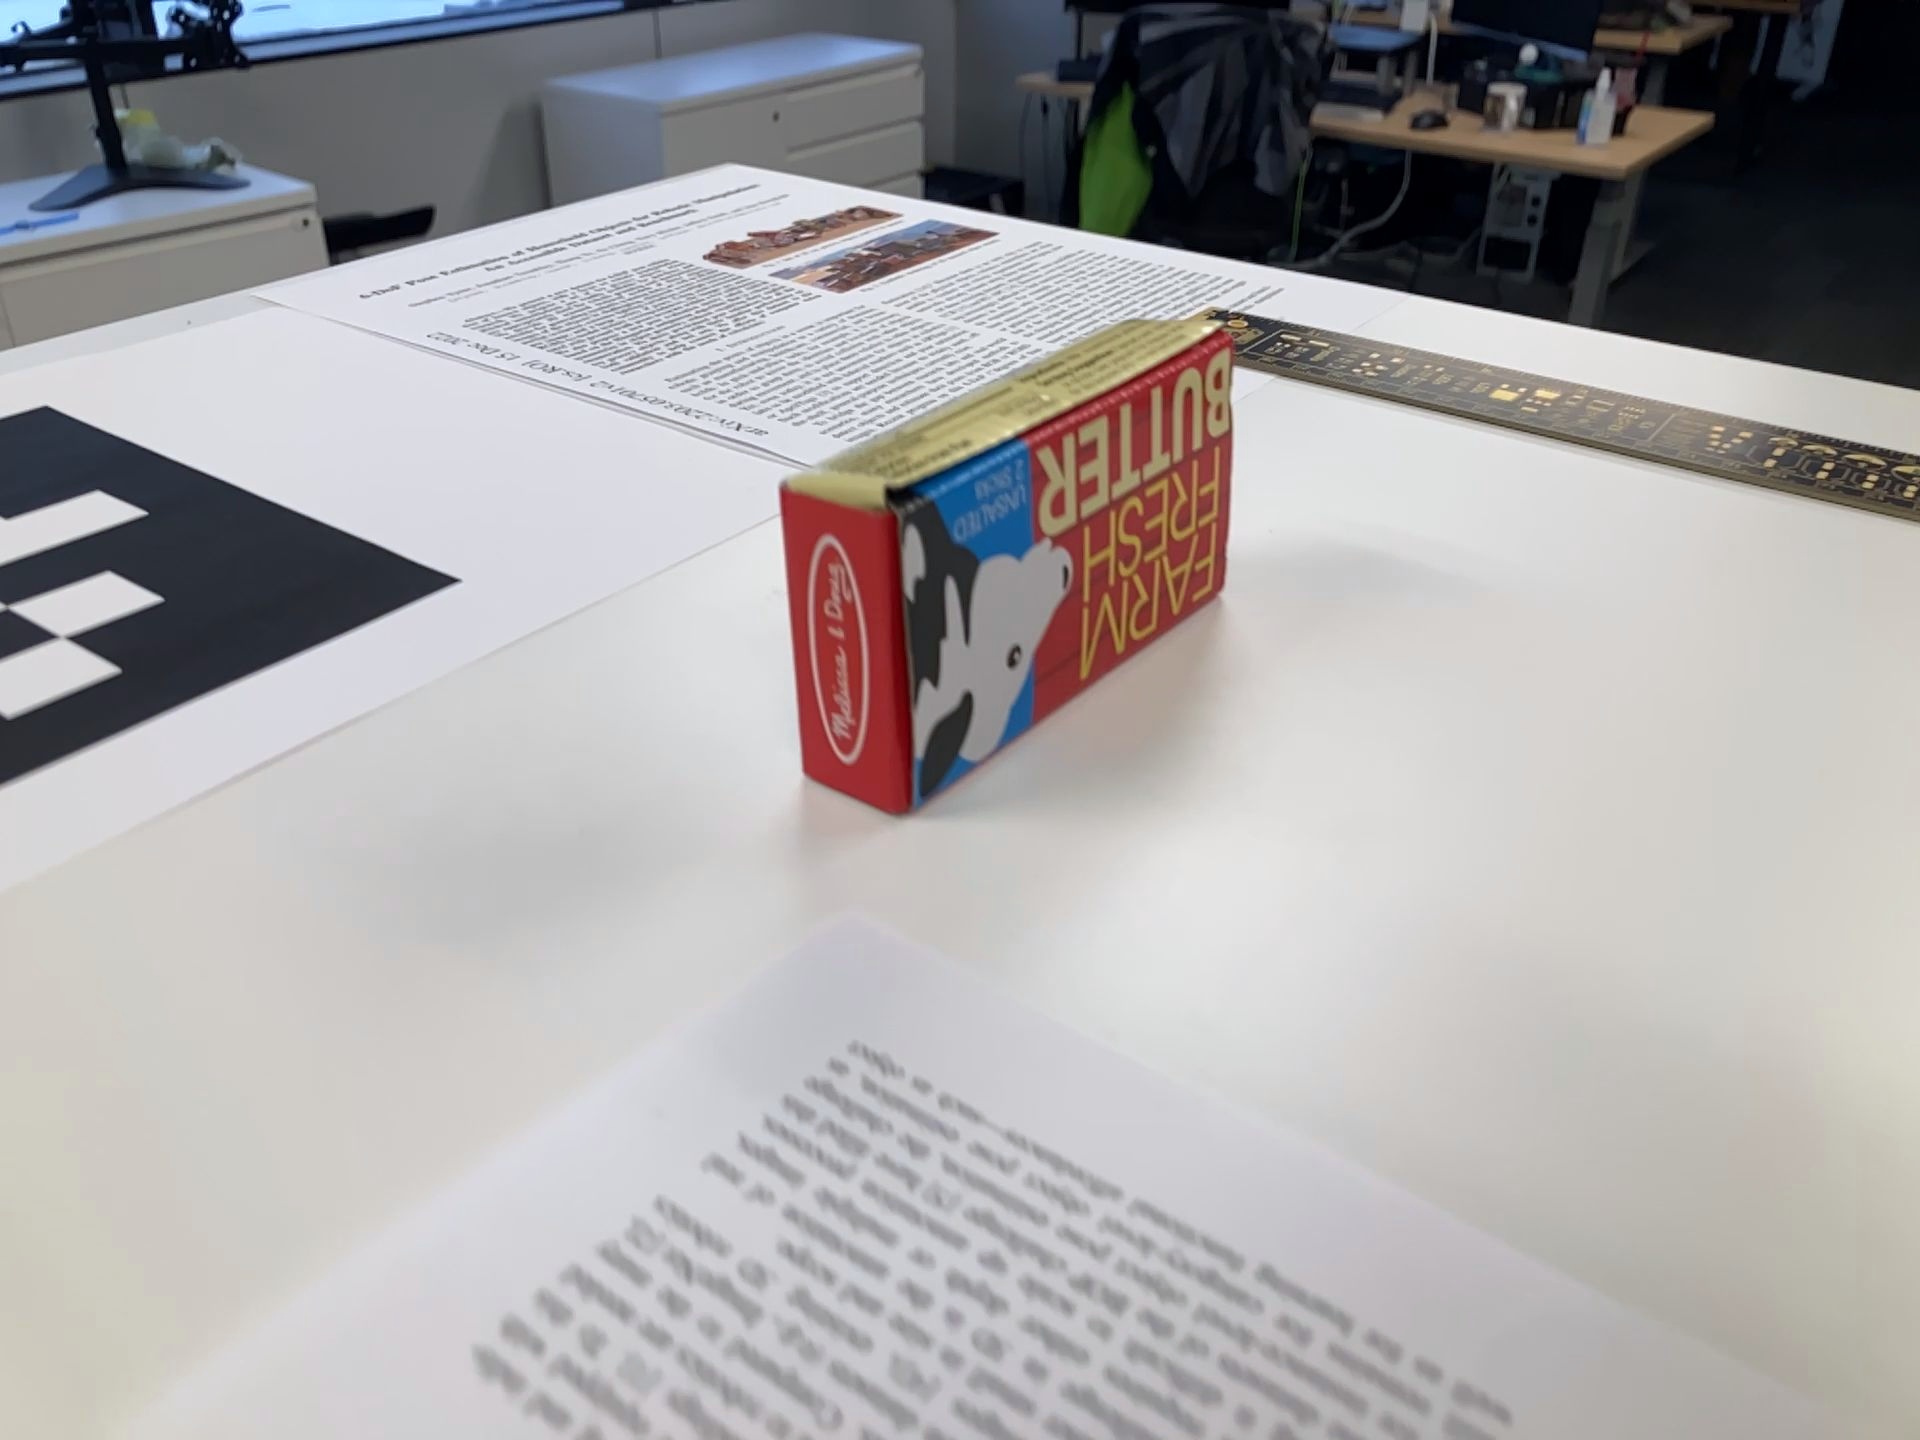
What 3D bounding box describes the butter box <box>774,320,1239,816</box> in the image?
[{"bbox_3d":[0.013,-0.031,0.271,0.024,0.053,0.103,18,35,32],"label":"butter box"}]
